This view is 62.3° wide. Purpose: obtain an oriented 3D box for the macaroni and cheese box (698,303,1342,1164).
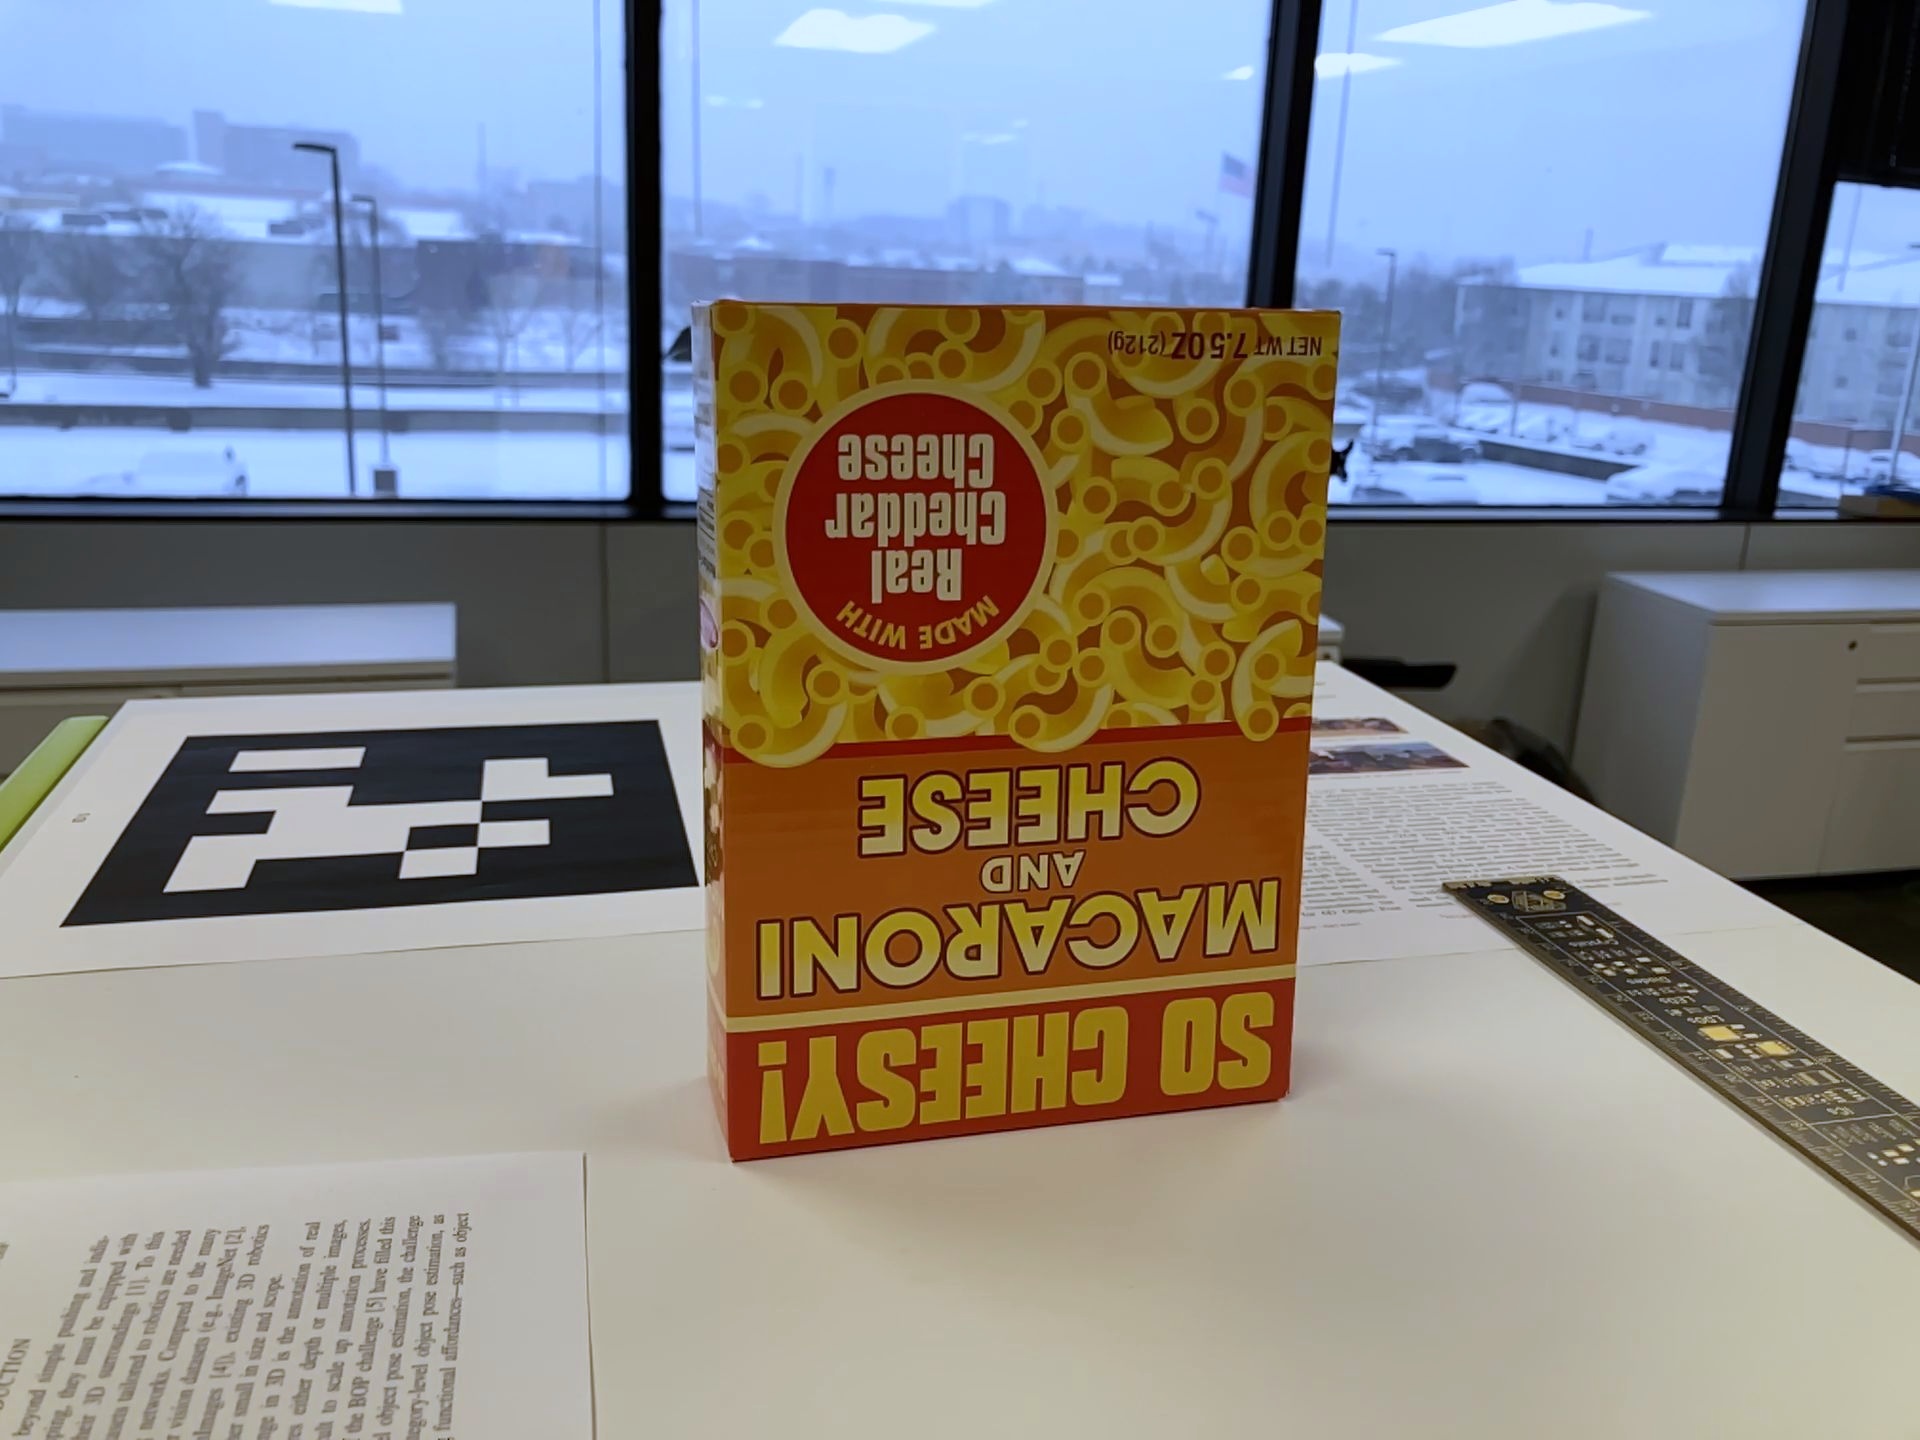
[{"bbox_3d":[0.011,0.001,0.331,0.124,0.166,0.040,-3,13,-14],"label":"macaroni and cheese box"}]
